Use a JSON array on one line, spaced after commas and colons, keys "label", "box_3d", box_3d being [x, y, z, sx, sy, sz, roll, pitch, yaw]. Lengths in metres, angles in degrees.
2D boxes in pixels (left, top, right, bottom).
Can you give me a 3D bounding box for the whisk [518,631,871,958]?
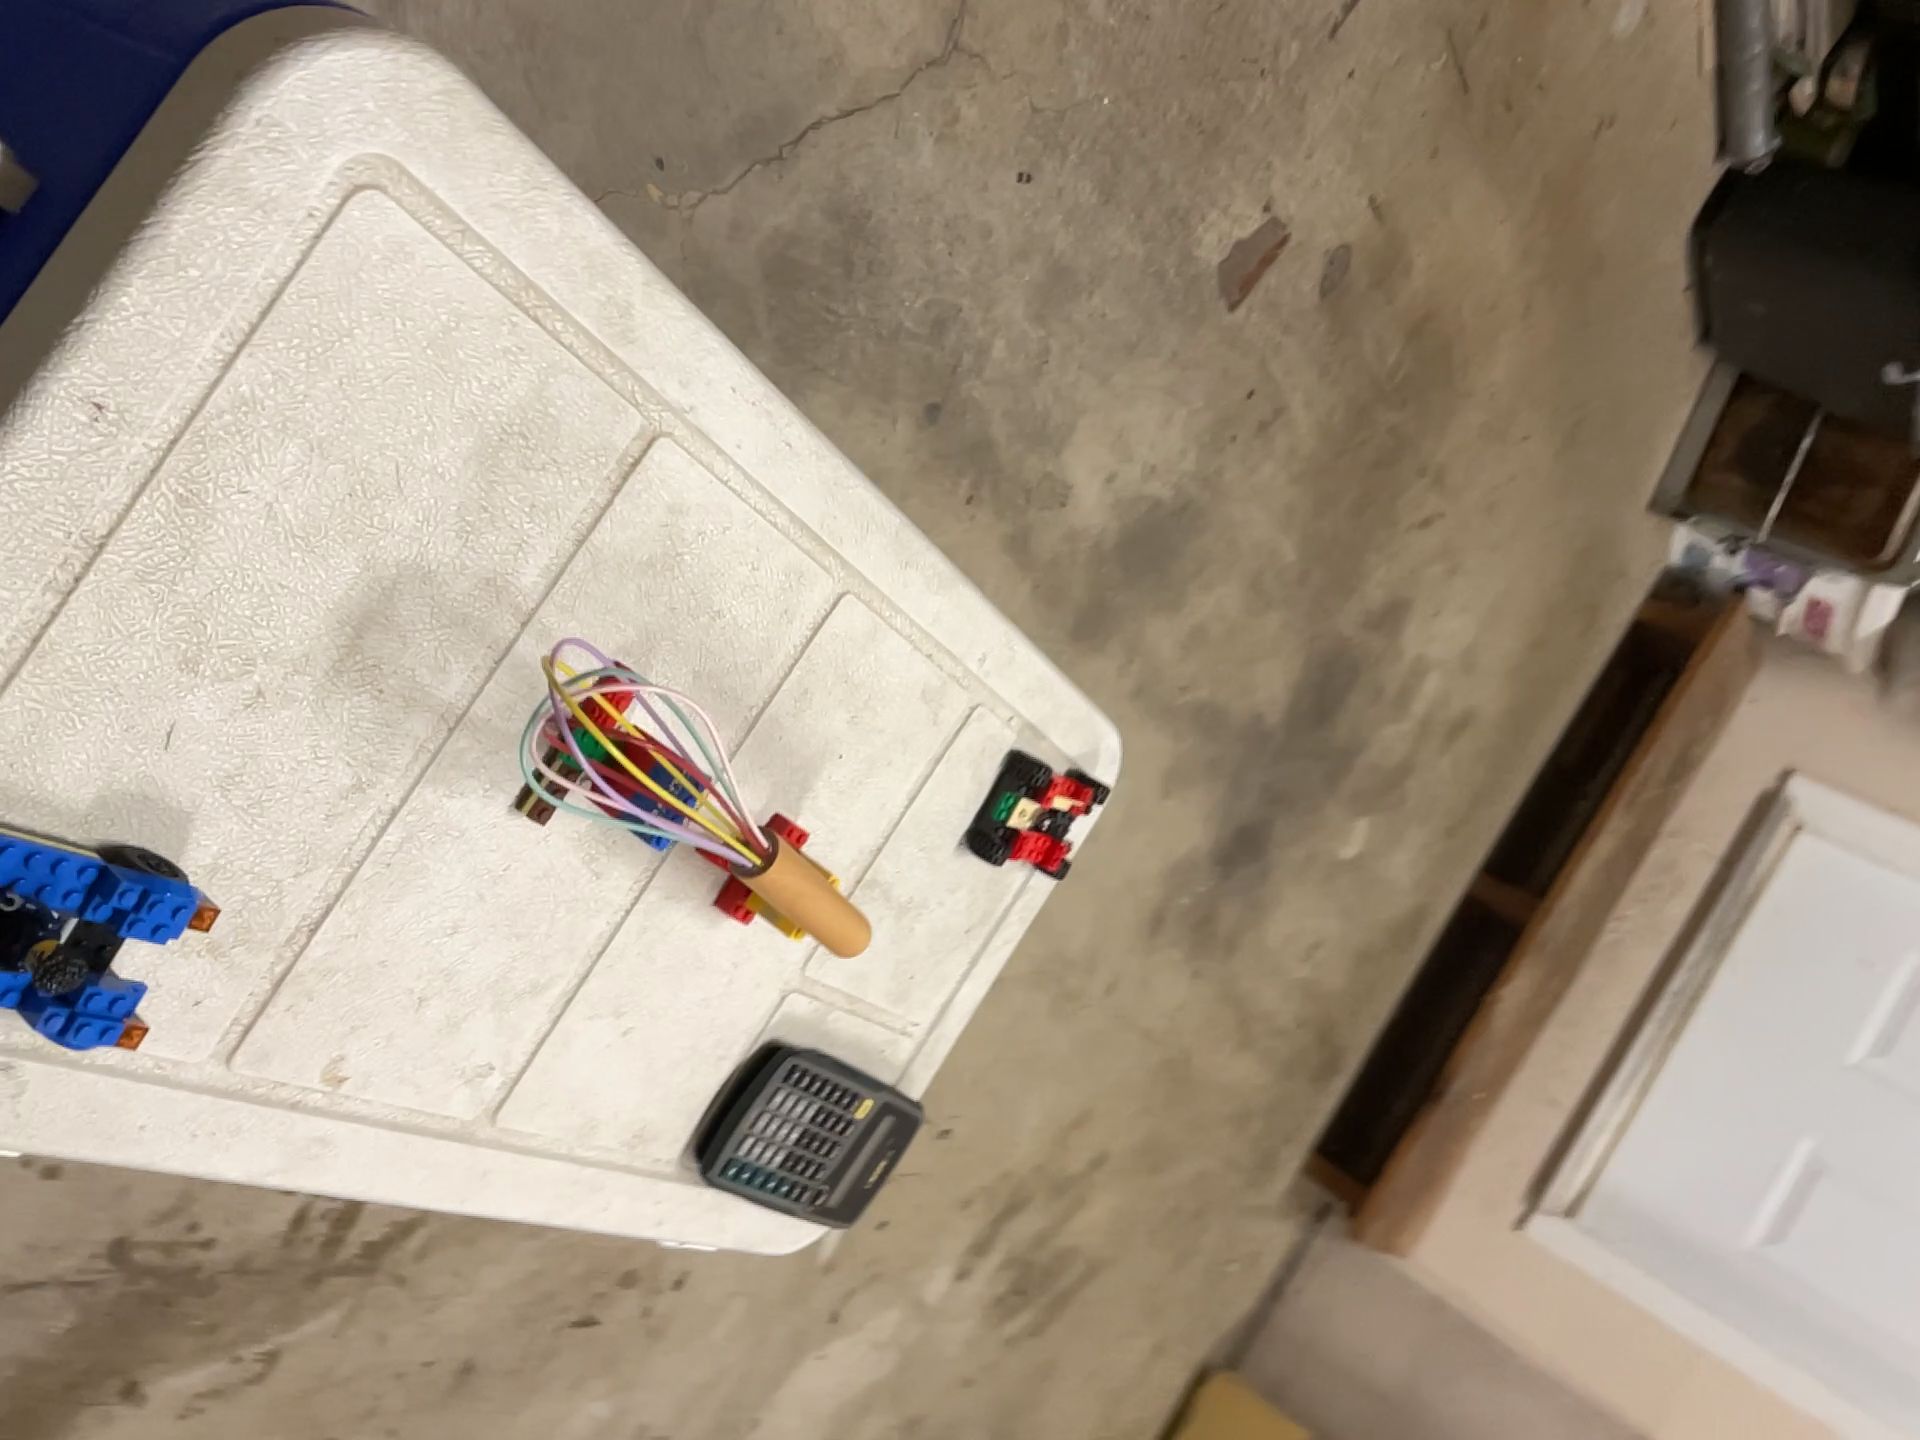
[{"label": "whisk", "box_3d": [-0.082, 0.042, 0.564, 0.051, 0.047, 0.245, -64, 152, -17]}]
